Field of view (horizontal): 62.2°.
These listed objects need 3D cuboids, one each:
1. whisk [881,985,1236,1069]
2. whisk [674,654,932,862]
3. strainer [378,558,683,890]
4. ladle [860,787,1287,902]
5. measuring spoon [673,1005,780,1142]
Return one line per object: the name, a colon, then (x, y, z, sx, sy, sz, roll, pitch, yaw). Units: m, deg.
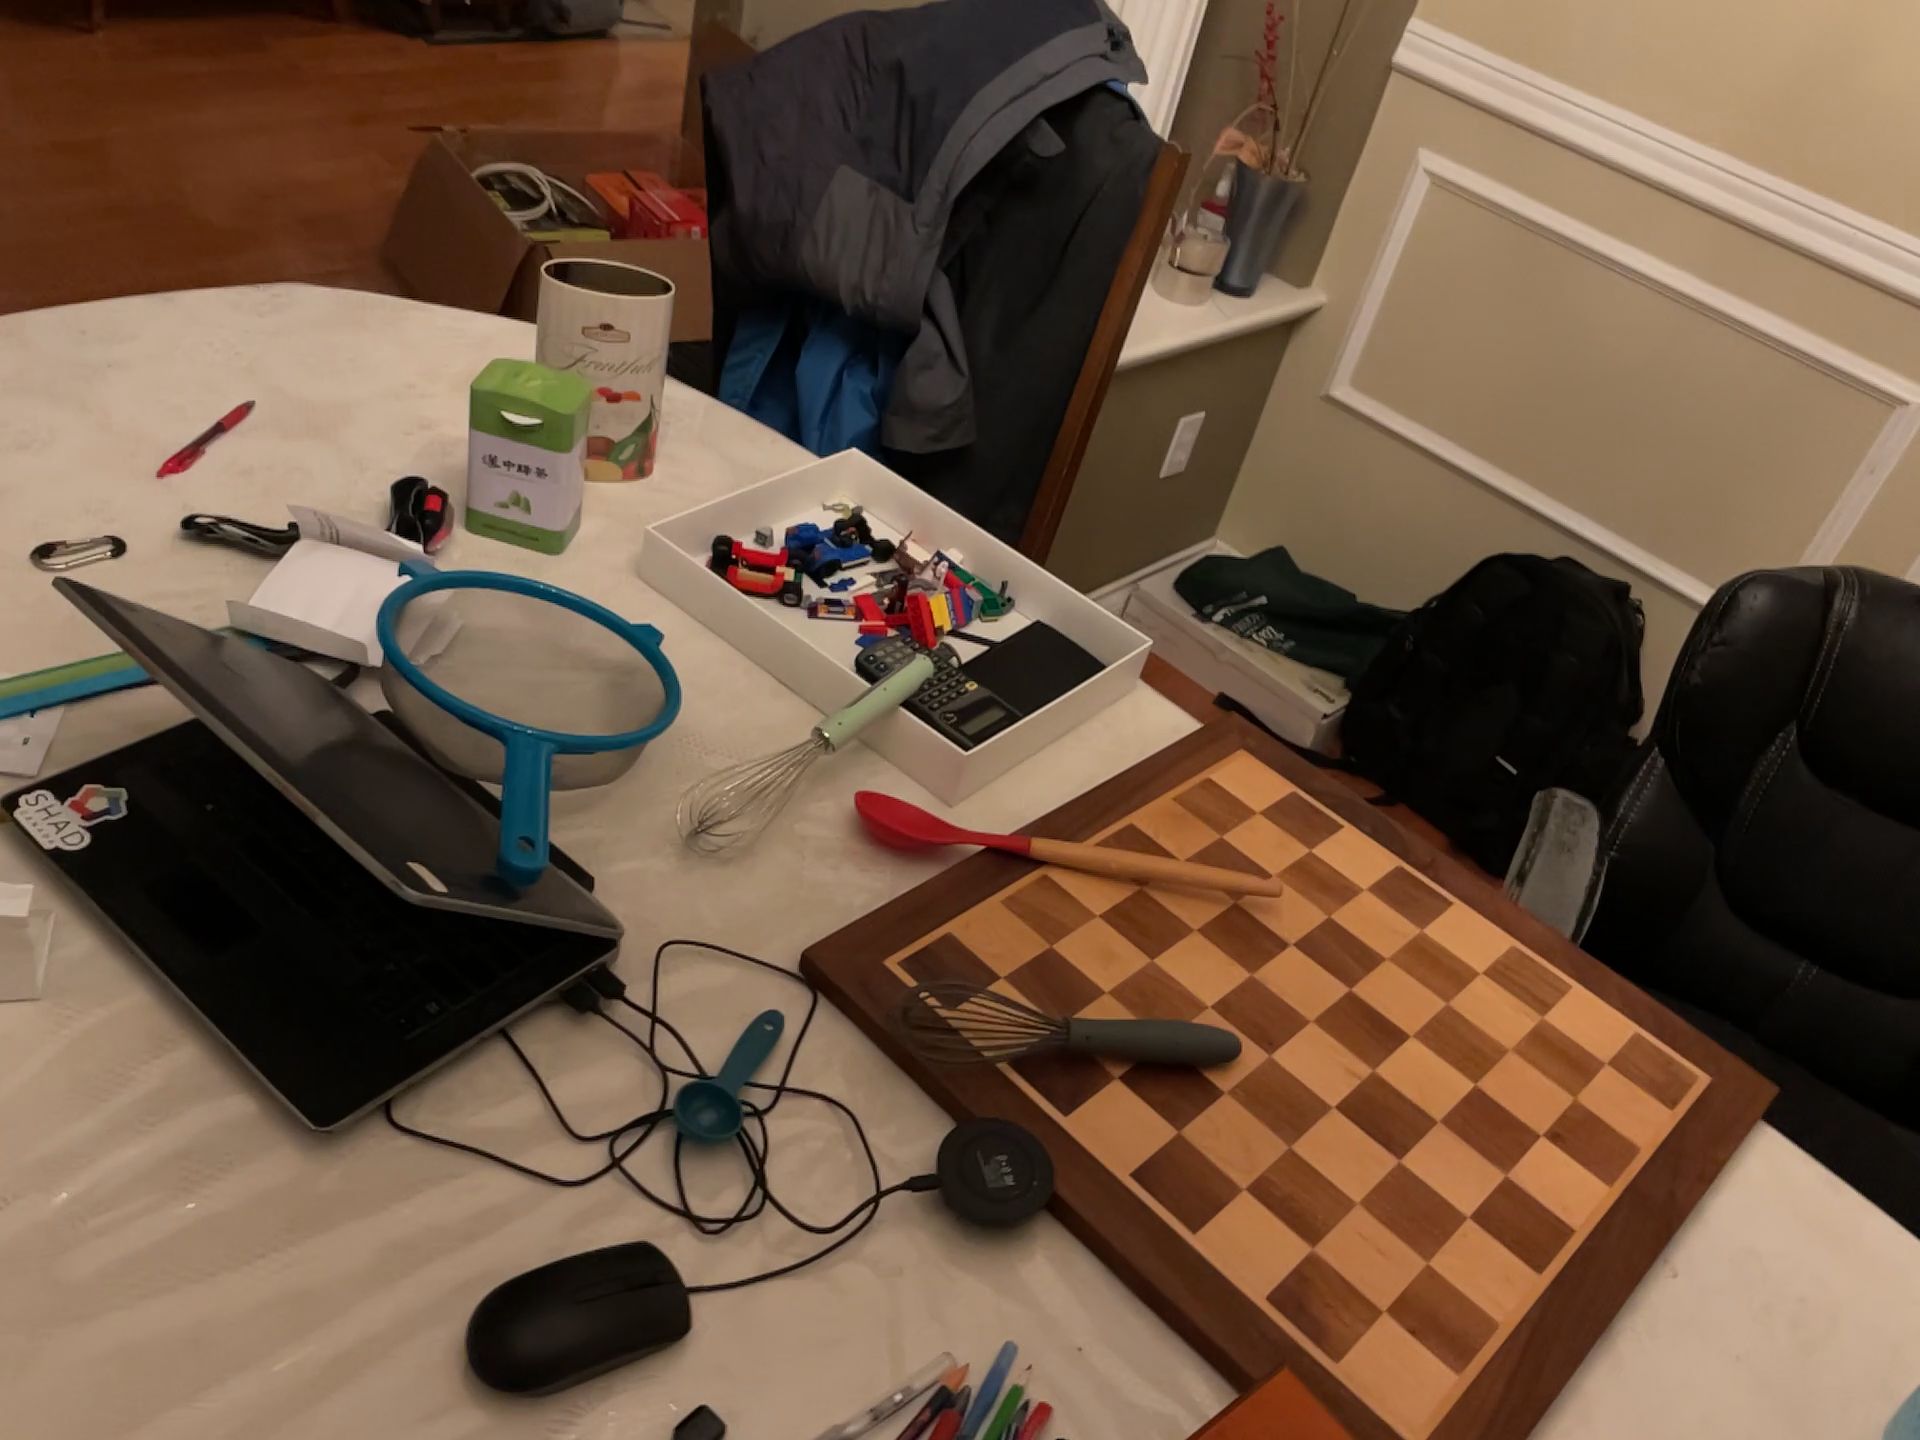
whisk: (0.065, 0.200, 0.999, 0.238, 0.055, 0.055, 9, 51, -16)
whisk: (-0.107, 0.020, 1.153, 0.246, 0.058, 0.059, -39, 91, -32)
strainer: (-0.297, 0.024, 1.065, 0.210, 0.095, 0.341, 16, 30, -22)
ladle: (0.080, 0.095, 1.147, 0.315, 0.031, 0.069, 11, 15, 1)
measuring spoon: (-0.137, 0.212, 0.956, 0.042, 0.021, 0.128, 27, 26, 3)
